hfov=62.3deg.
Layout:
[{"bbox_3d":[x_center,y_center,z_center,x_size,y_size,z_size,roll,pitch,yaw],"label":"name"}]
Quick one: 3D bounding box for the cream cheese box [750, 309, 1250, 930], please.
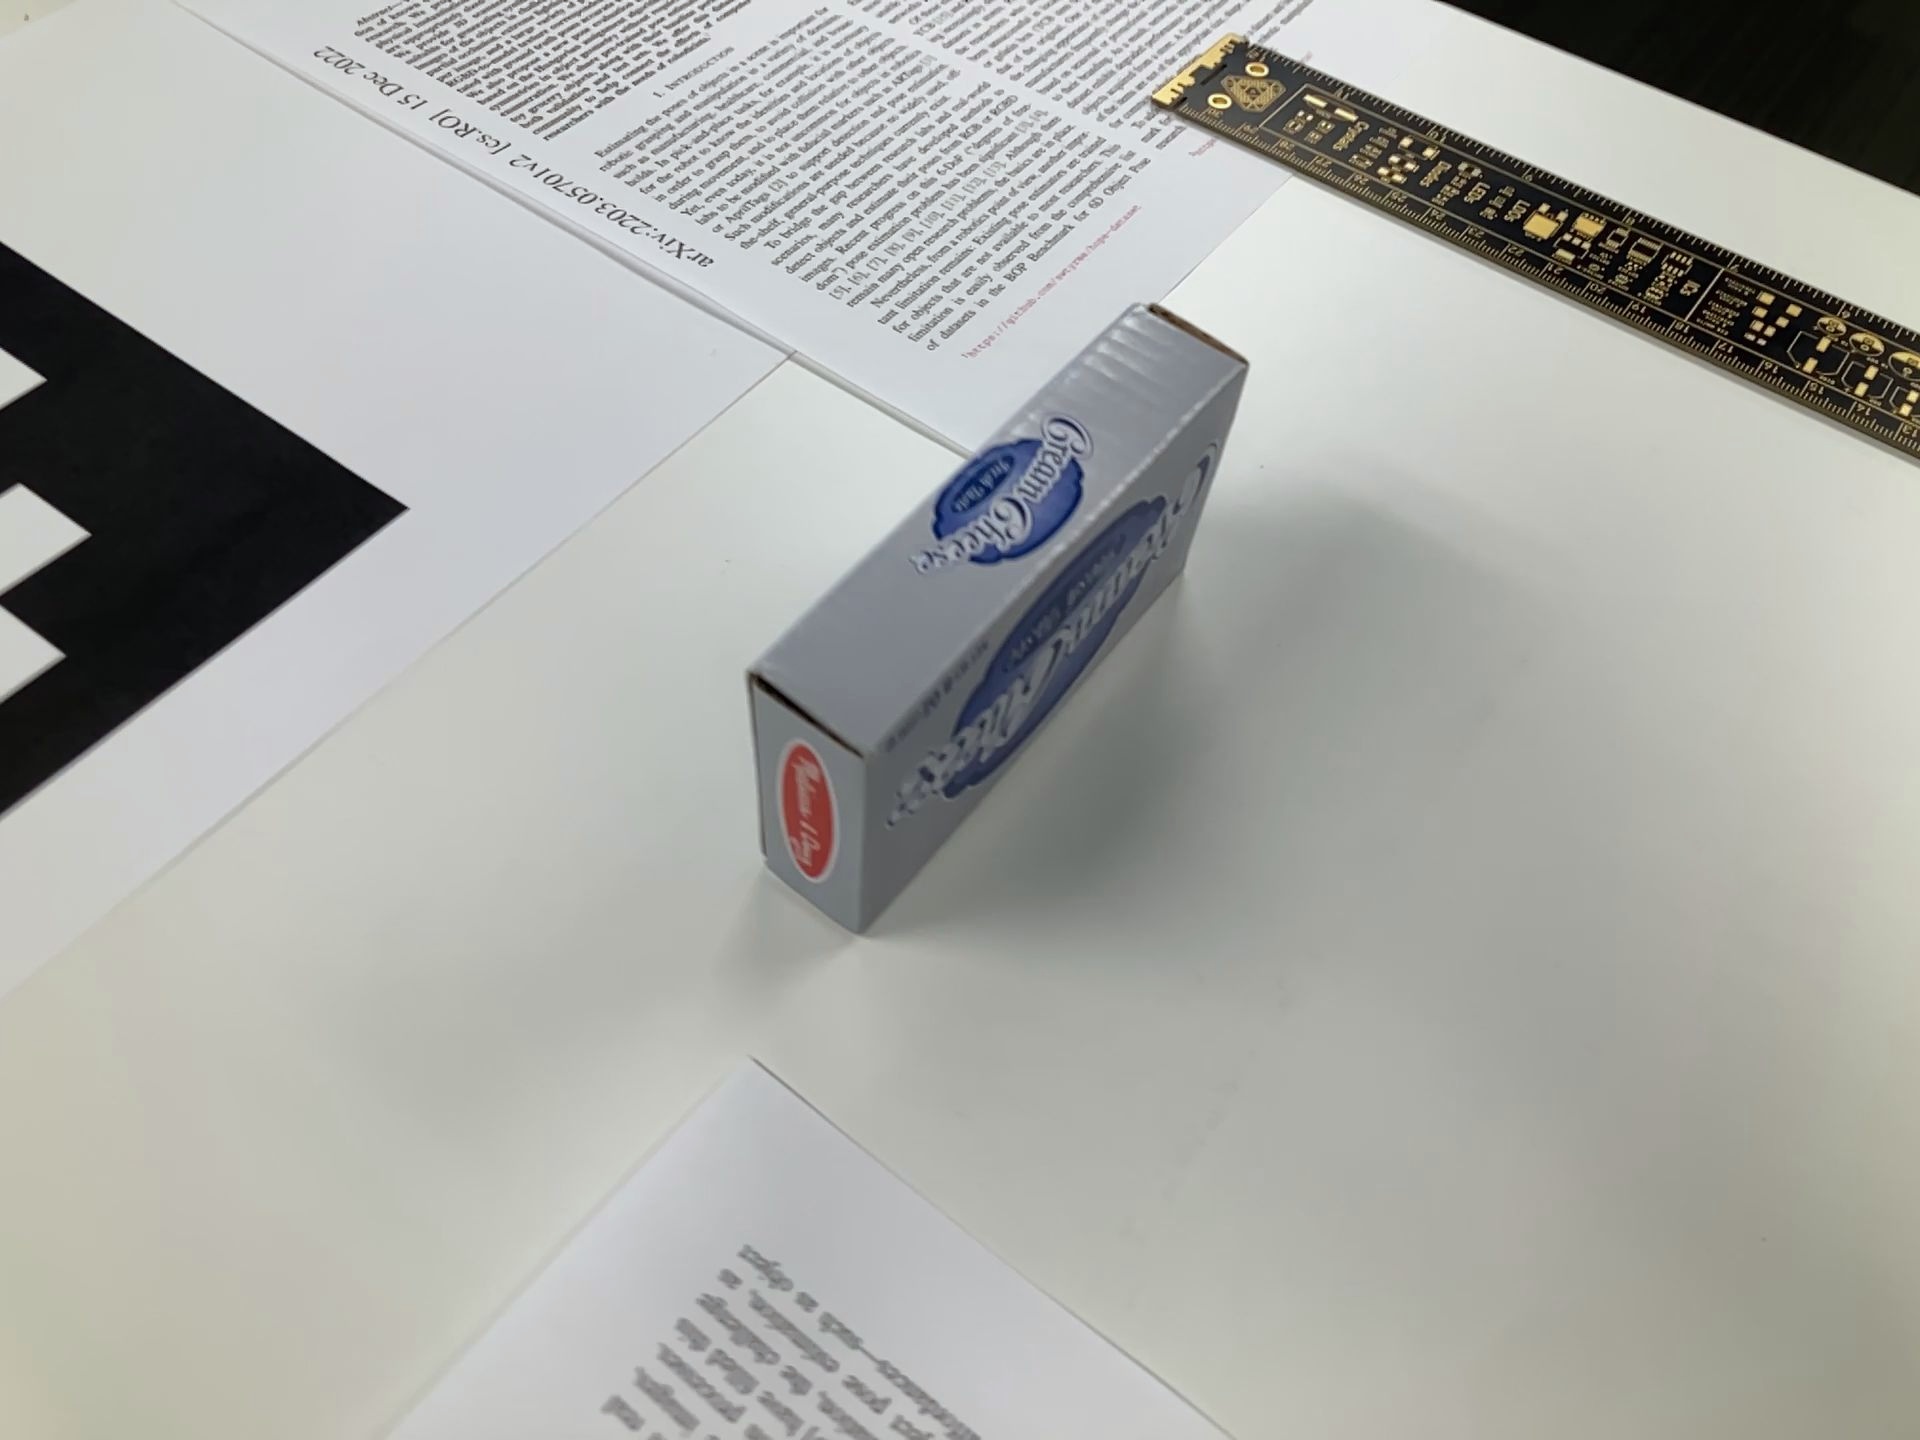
[{"bbox_3d":[0.007,-0.018,0.262,0.024,0.053,0.104,33,58,16],"label":"cream cheese box"}]
